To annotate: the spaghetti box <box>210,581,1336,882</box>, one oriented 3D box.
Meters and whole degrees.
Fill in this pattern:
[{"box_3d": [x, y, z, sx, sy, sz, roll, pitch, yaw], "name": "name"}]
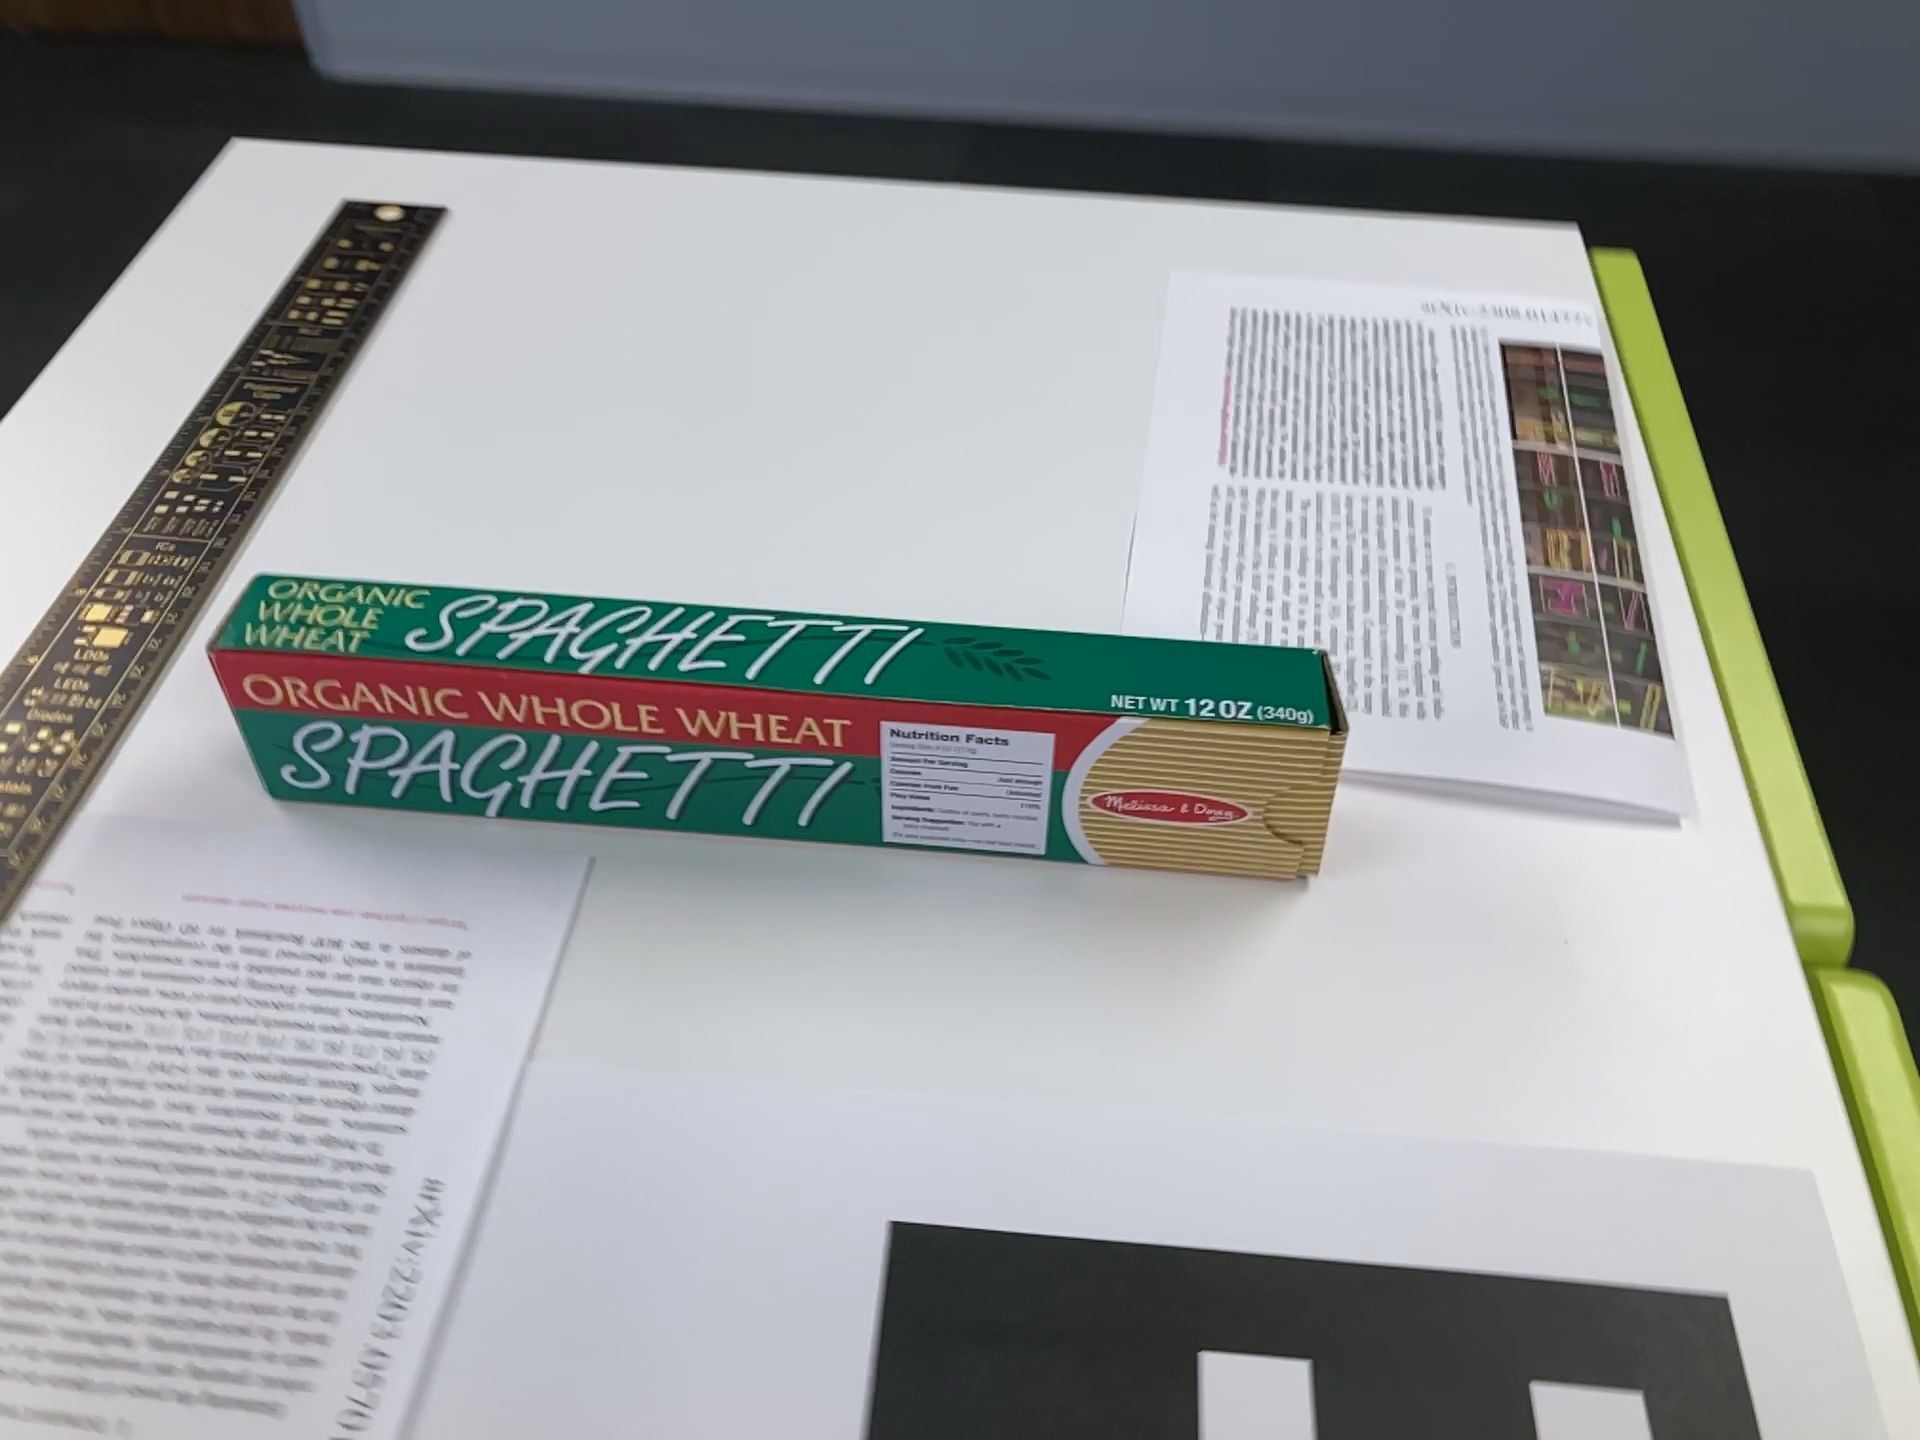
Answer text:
[{"box_3d": [-0.043, 0.002, 0.369, 0.250, 0.050, 0.028, 4, 43, 3], "name": "spaghetti box"}]
